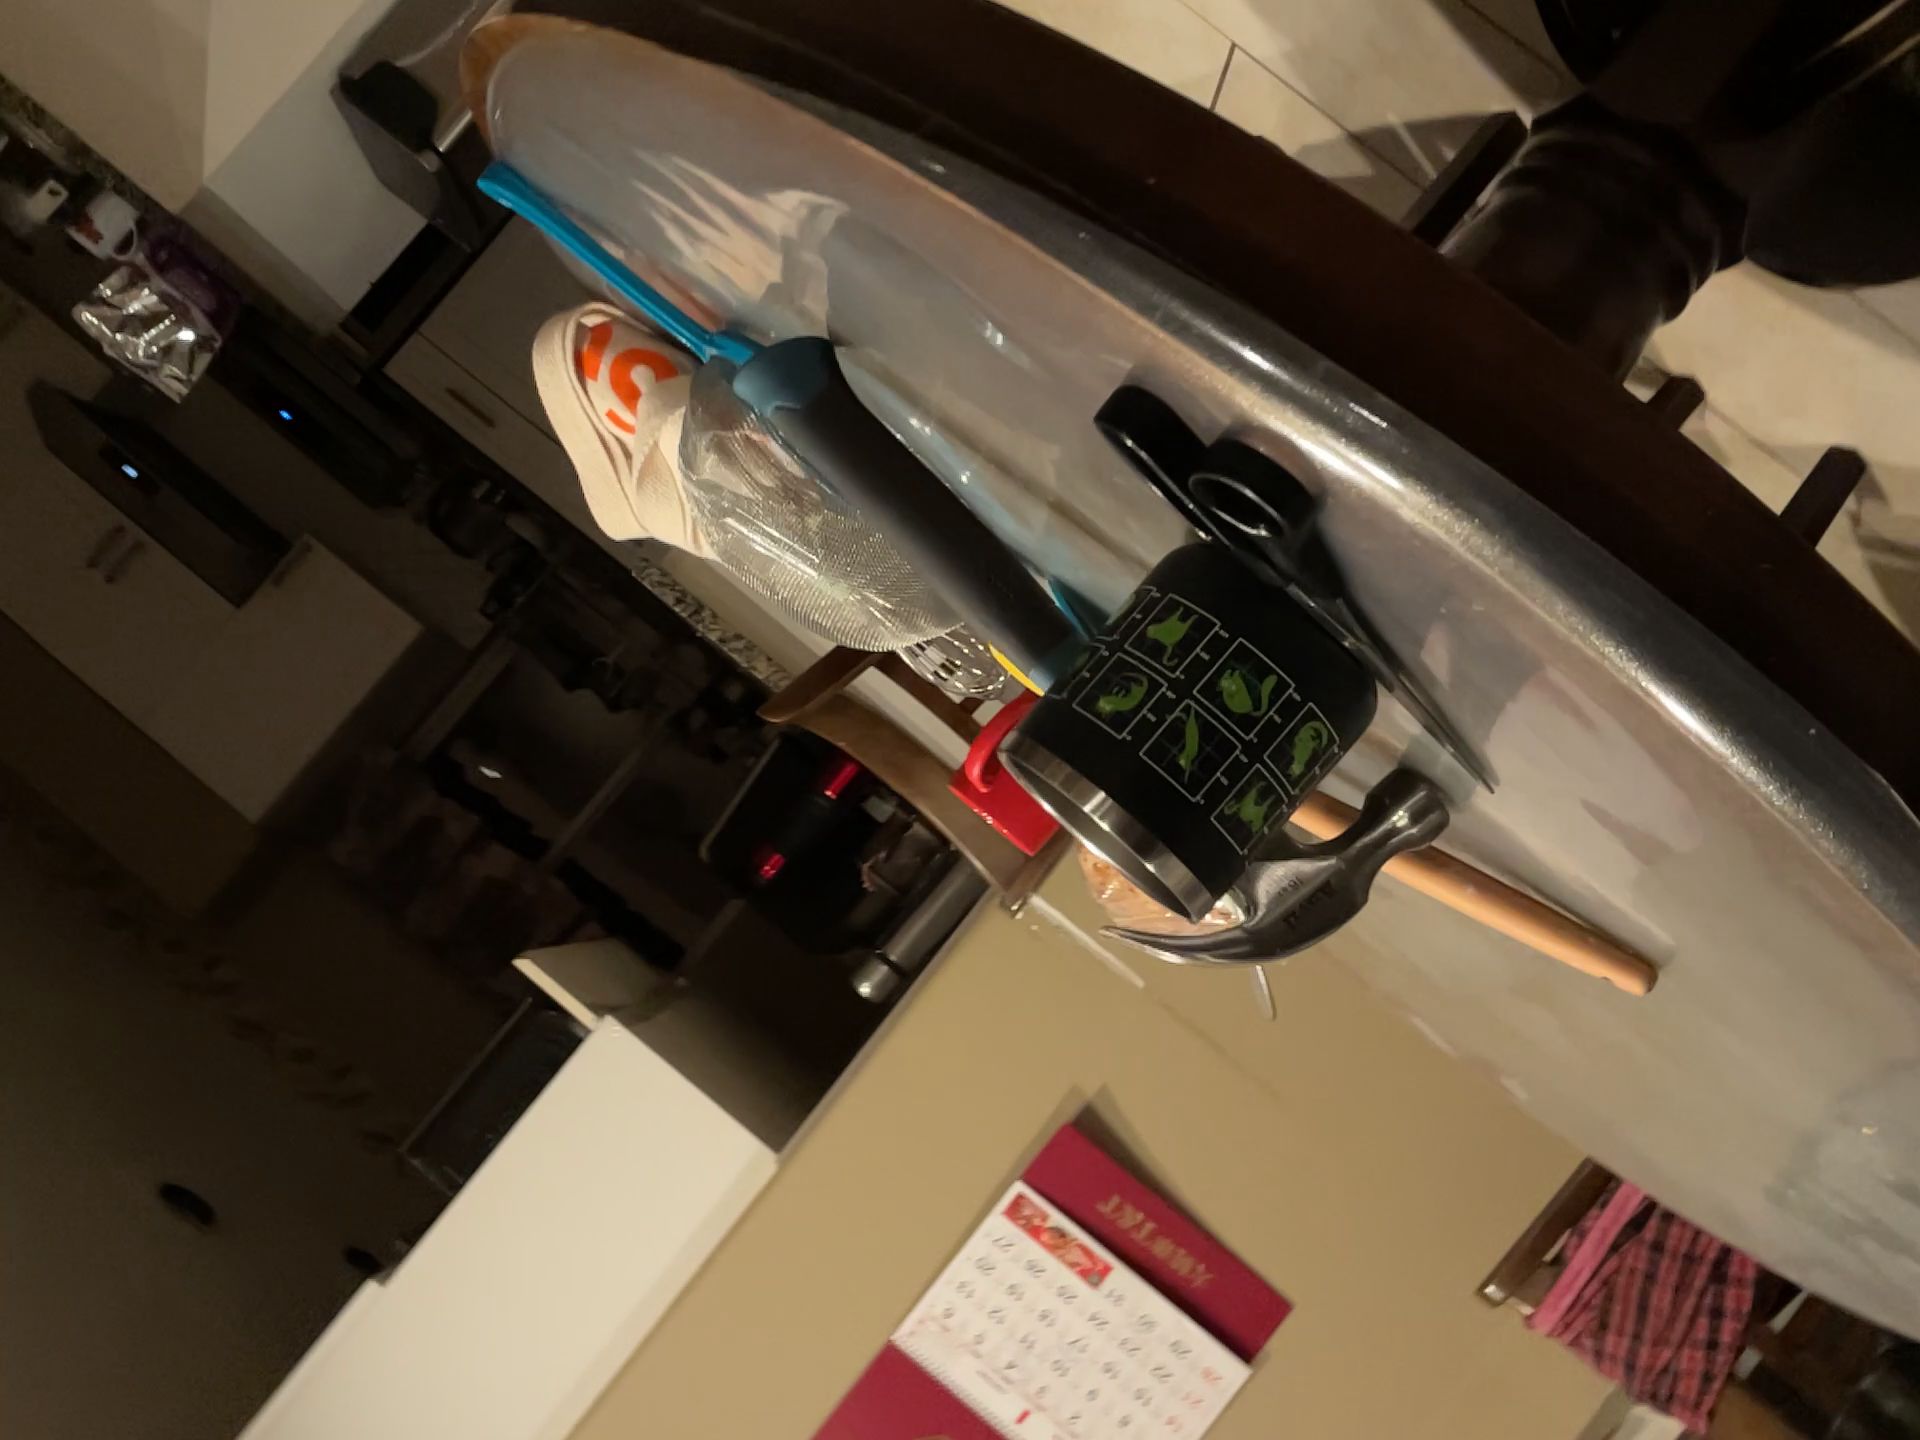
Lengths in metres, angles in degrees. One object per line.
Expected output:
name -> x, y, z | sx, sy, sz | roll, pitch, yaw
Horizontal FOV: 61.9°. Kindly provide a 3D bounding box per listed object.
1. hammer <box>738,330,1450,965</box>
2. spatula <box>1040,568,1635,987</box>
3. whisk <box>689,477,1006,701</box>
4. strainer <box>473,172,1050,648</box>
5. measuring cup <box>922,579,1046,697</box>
hammer -> 0.031, -0.038, 0.640 | 0.331, 0.128, 0.033 | 47, 174, 13
spatula -> 0.149, 0.024, 0.701 | 0.317, 0.044, 0.082 | 31, 170, 37
whisk -> -0.068, -0.082, 1.027 | 0.246, 0.057, 0.059 | 32, -151, -23
strainer -> -0.123, -0.138, 0.824 | 0.340, 0.095, 0.211 | 36, 175, -13
measuring cup -> 0.014, -0.053, 0.941 | 0.156, 0.029, 0.062 | 32, 171, 47
